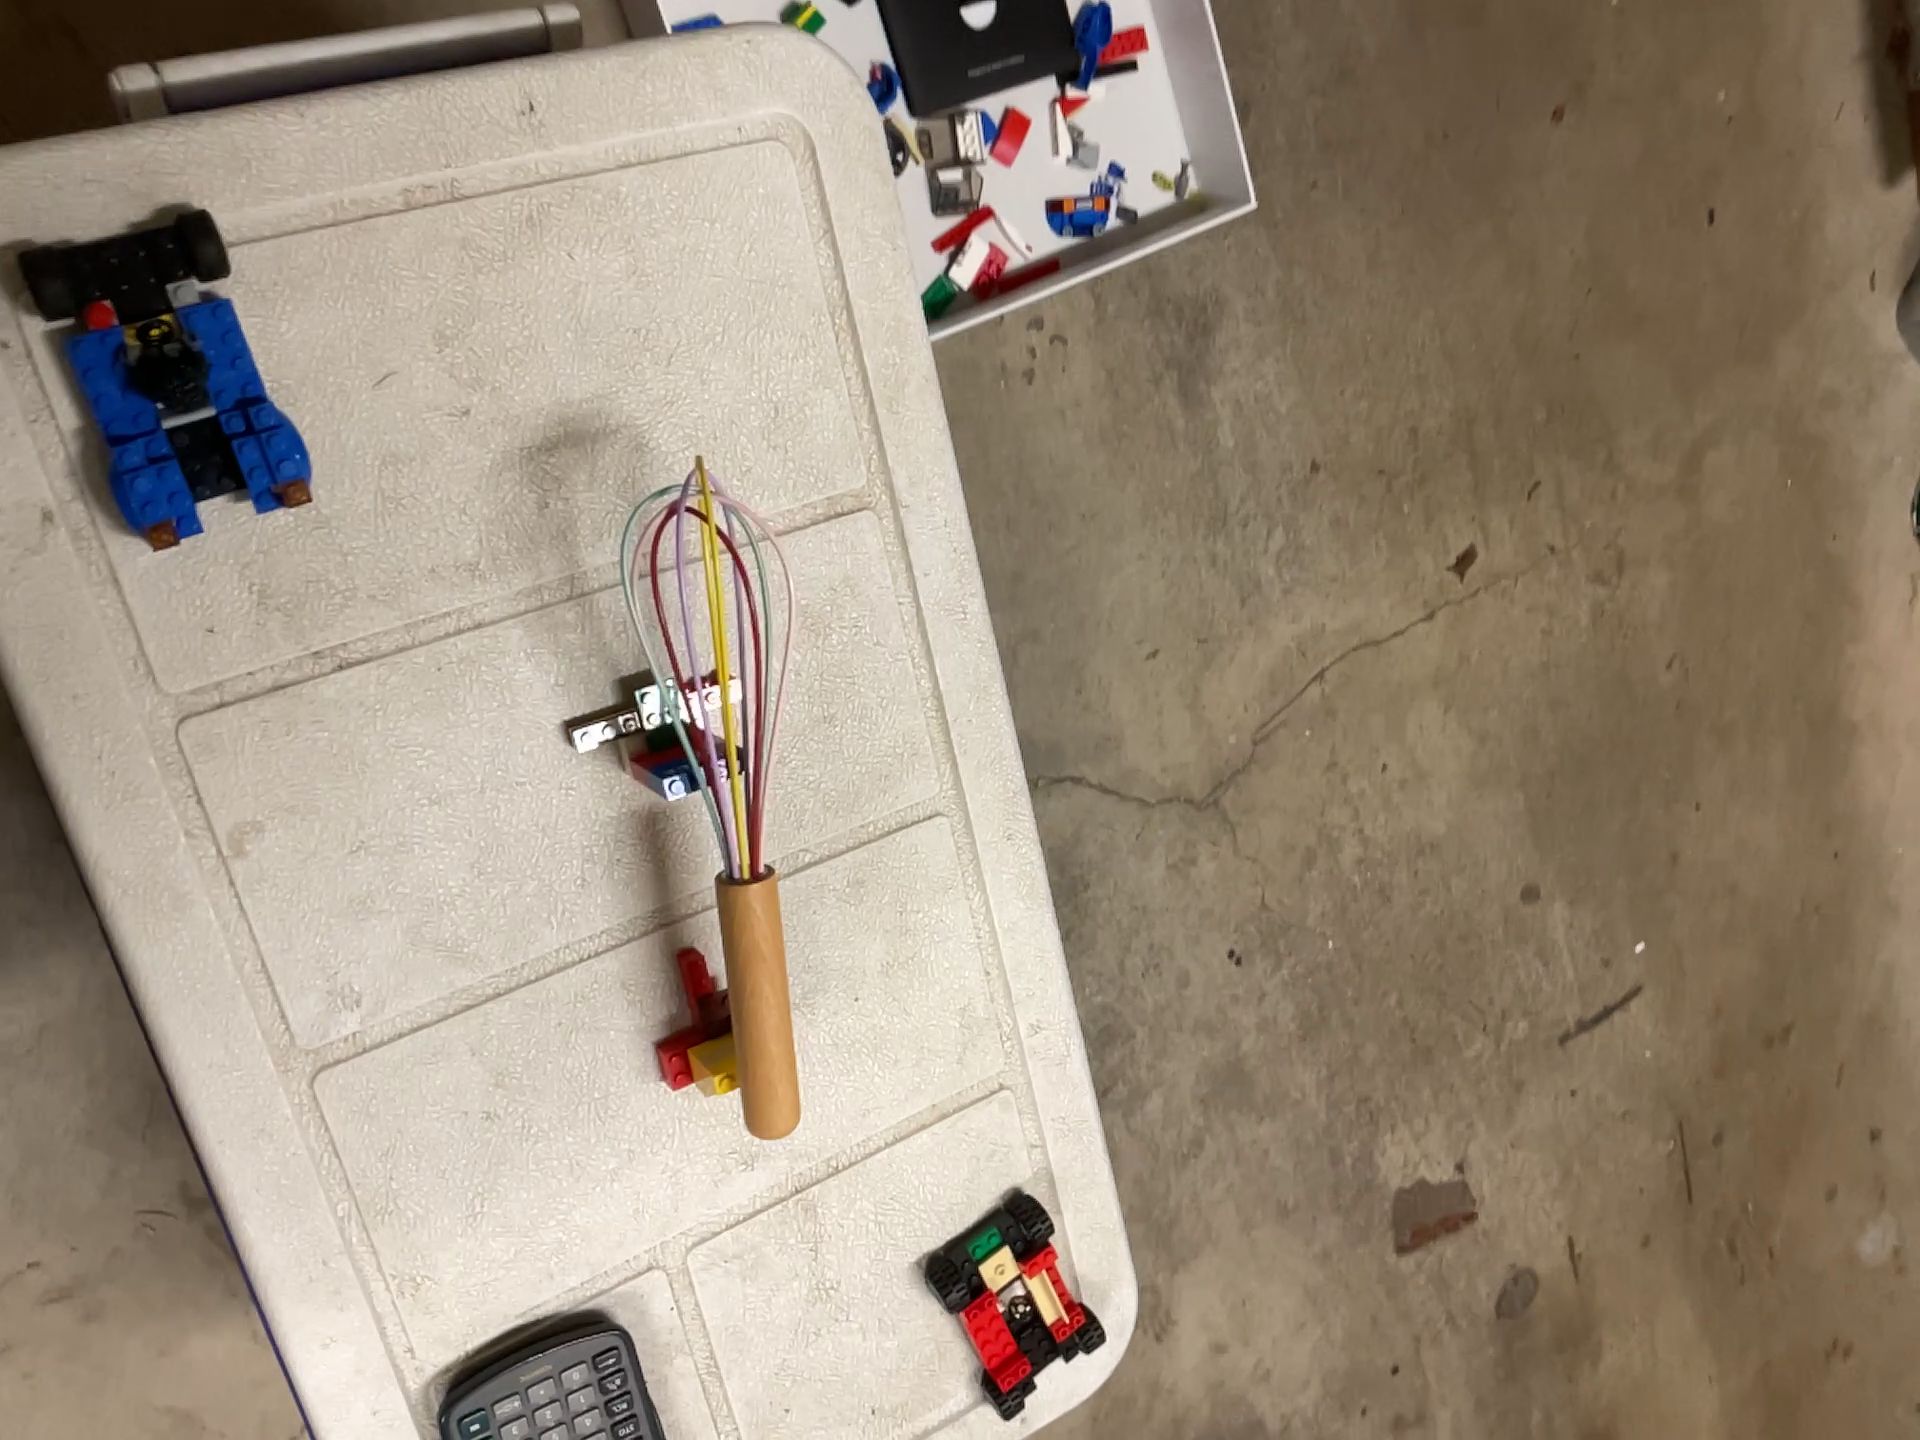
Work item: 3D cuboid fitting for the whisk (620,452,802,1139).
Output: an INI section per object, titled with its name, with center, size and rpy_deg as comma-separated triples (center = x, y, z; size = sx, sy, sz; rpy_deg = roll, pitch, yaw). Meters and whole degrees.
[whisk]
center = -0.076, 0.033, 0.540
size = 0.051, 0.047, 0.245
rpy_deg = -18, 112, -39
